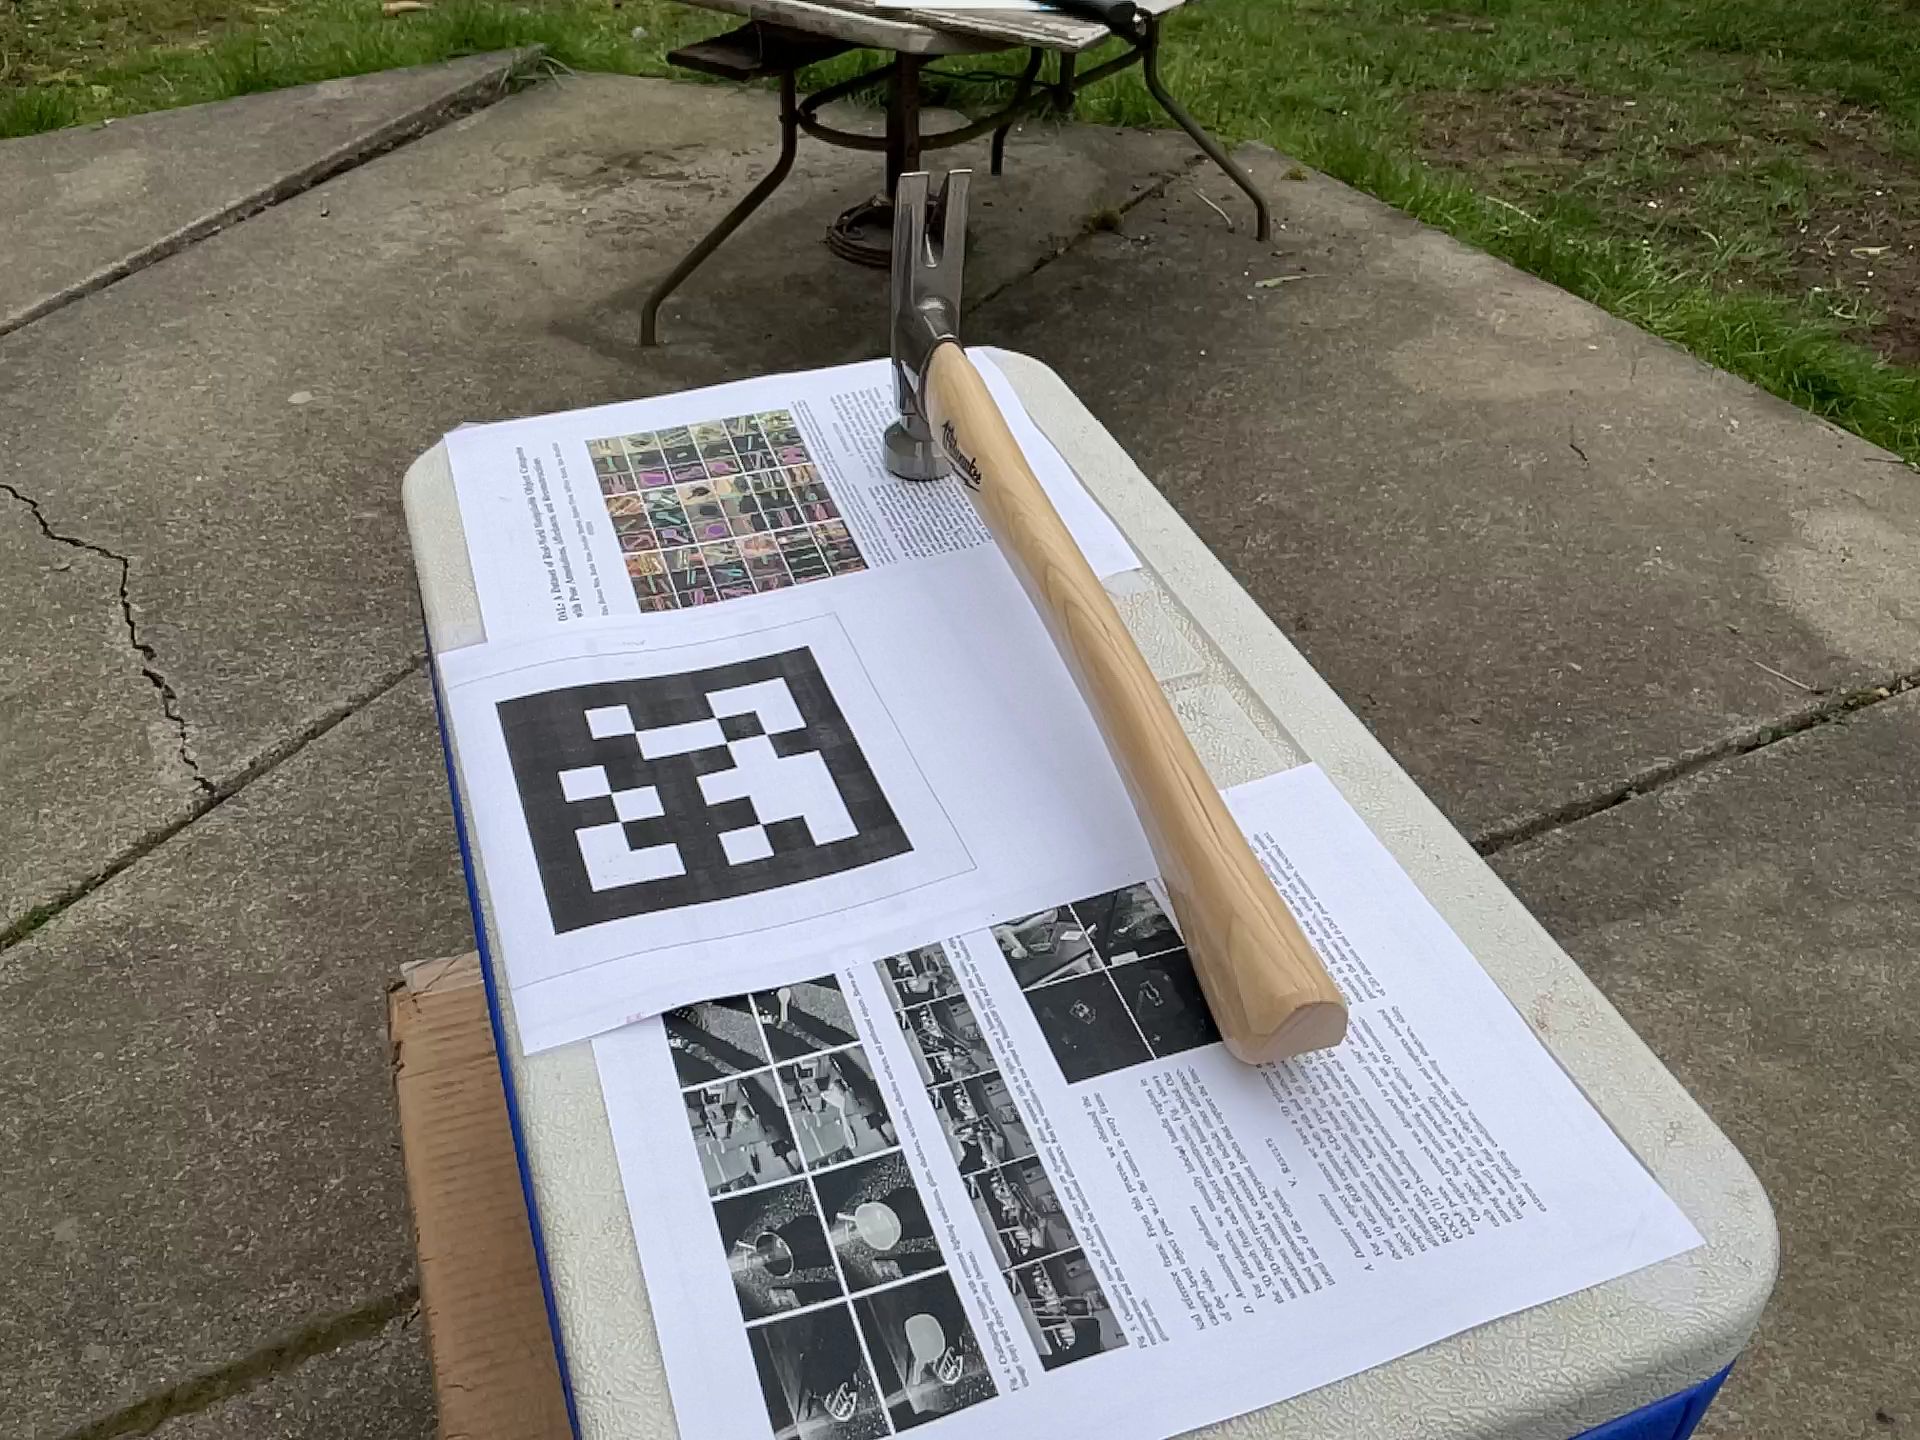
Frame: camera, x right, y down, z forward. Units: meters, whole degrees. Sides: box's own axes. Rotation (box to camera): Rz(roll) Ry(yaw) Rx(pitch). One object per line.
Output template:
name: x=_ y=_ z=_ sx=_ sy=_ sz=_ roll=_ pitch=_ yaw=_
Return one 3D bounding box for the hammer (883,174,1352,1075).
hammer: x=0.041 y=-0.051 z=0.598 sx=0.038 sy=0.146 sz=0.411 roll=-10 pitch=46 yaw=-14
